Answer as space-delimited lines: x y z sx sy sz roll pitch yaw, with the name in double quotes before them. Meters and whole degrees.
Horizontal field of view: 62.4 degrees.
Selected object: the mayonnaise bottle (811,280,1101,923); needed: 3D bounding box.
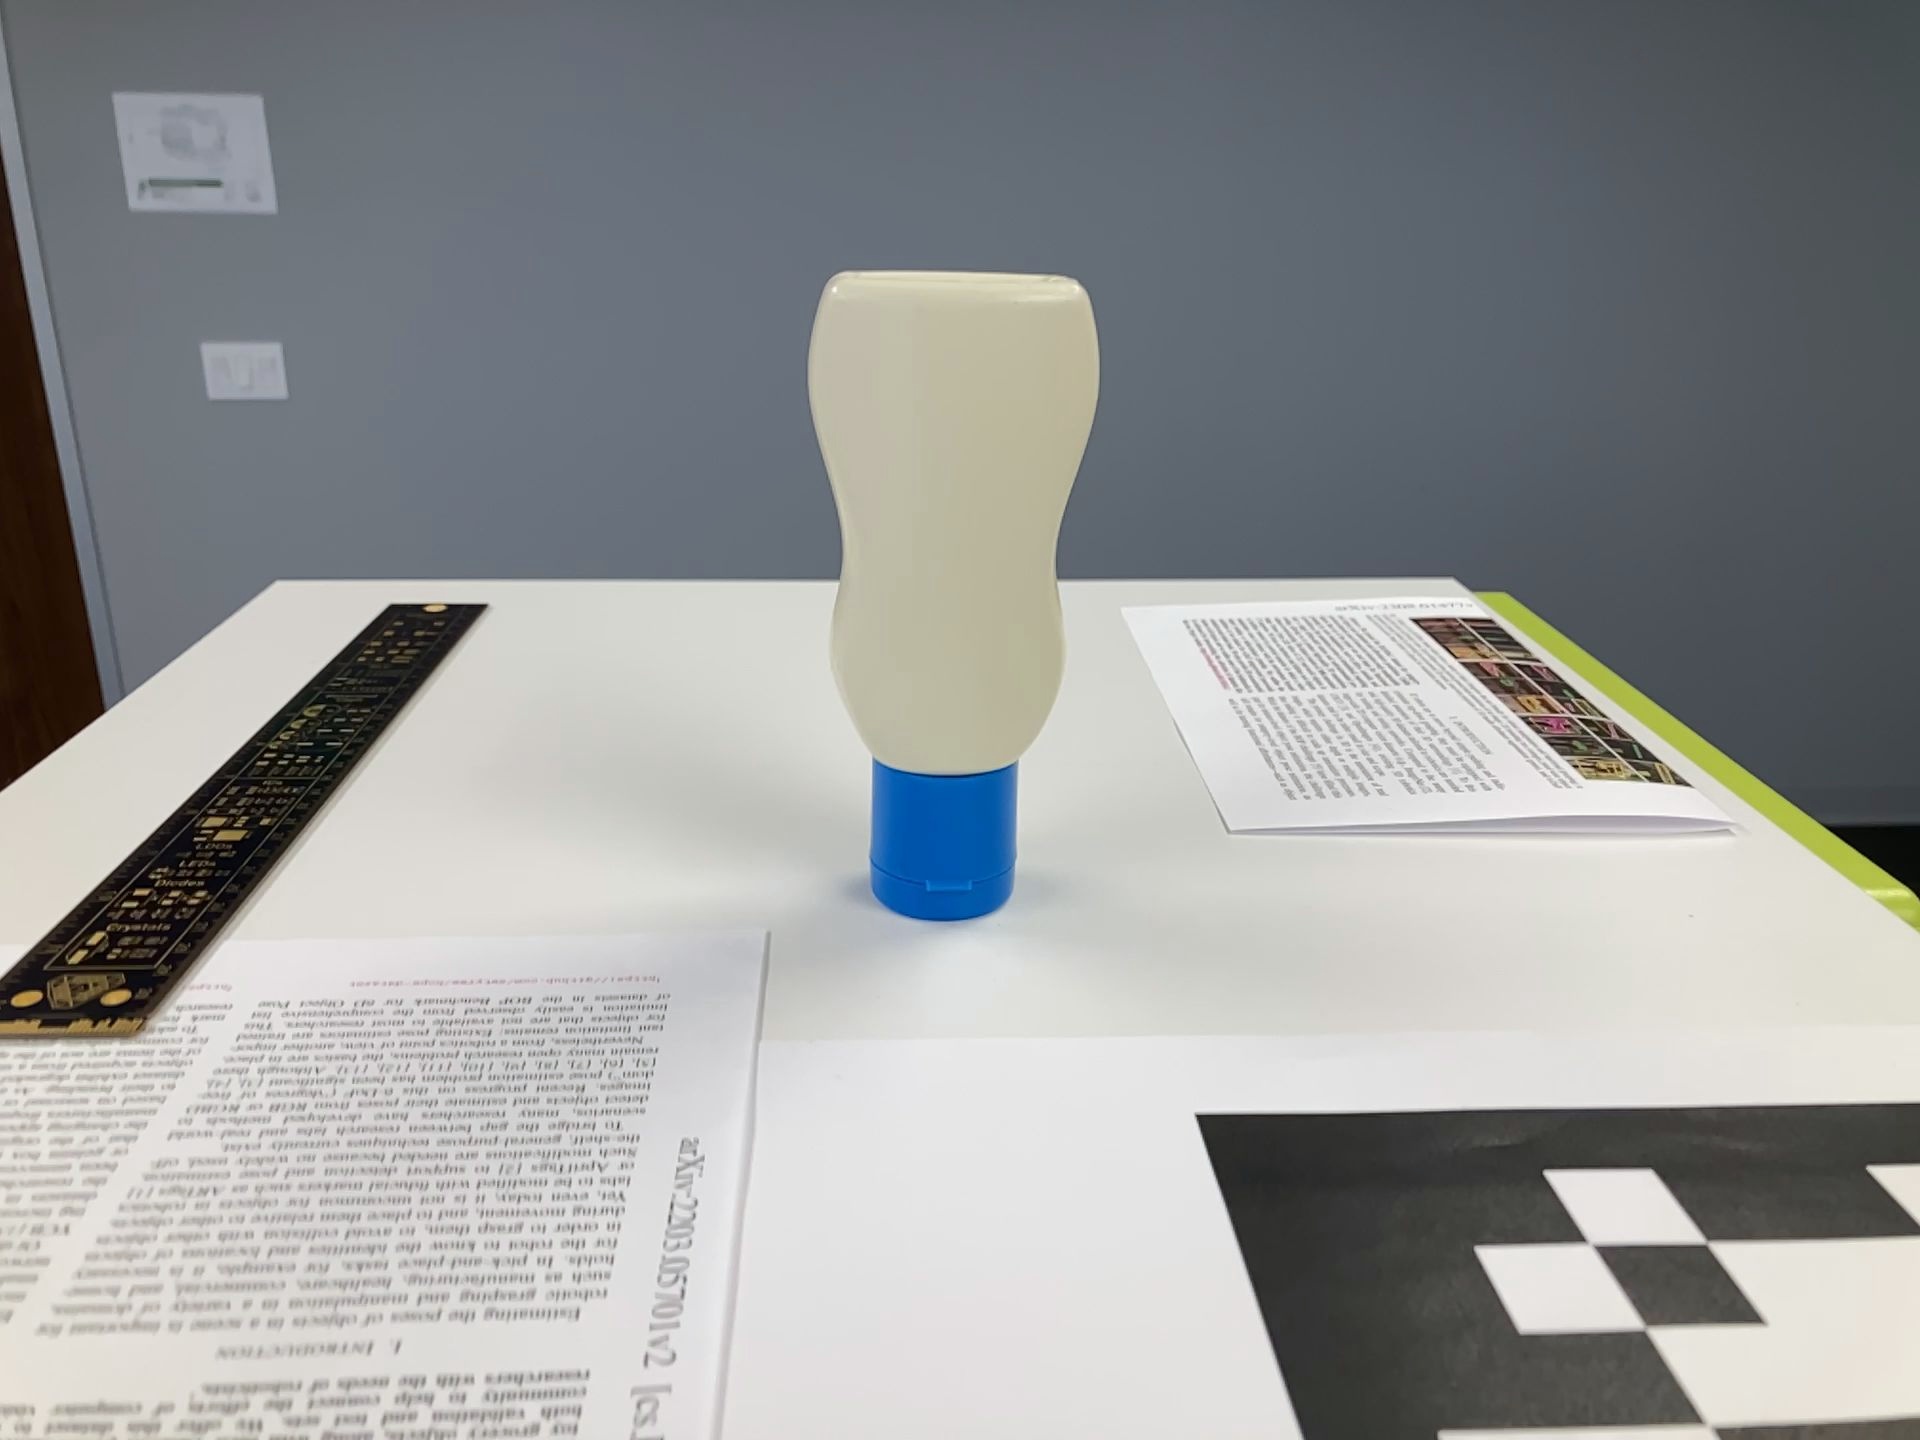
"mayonnaise bottle" -0.002 -0.026 0.374 0.065 0.148 0.041 0 19 -5
